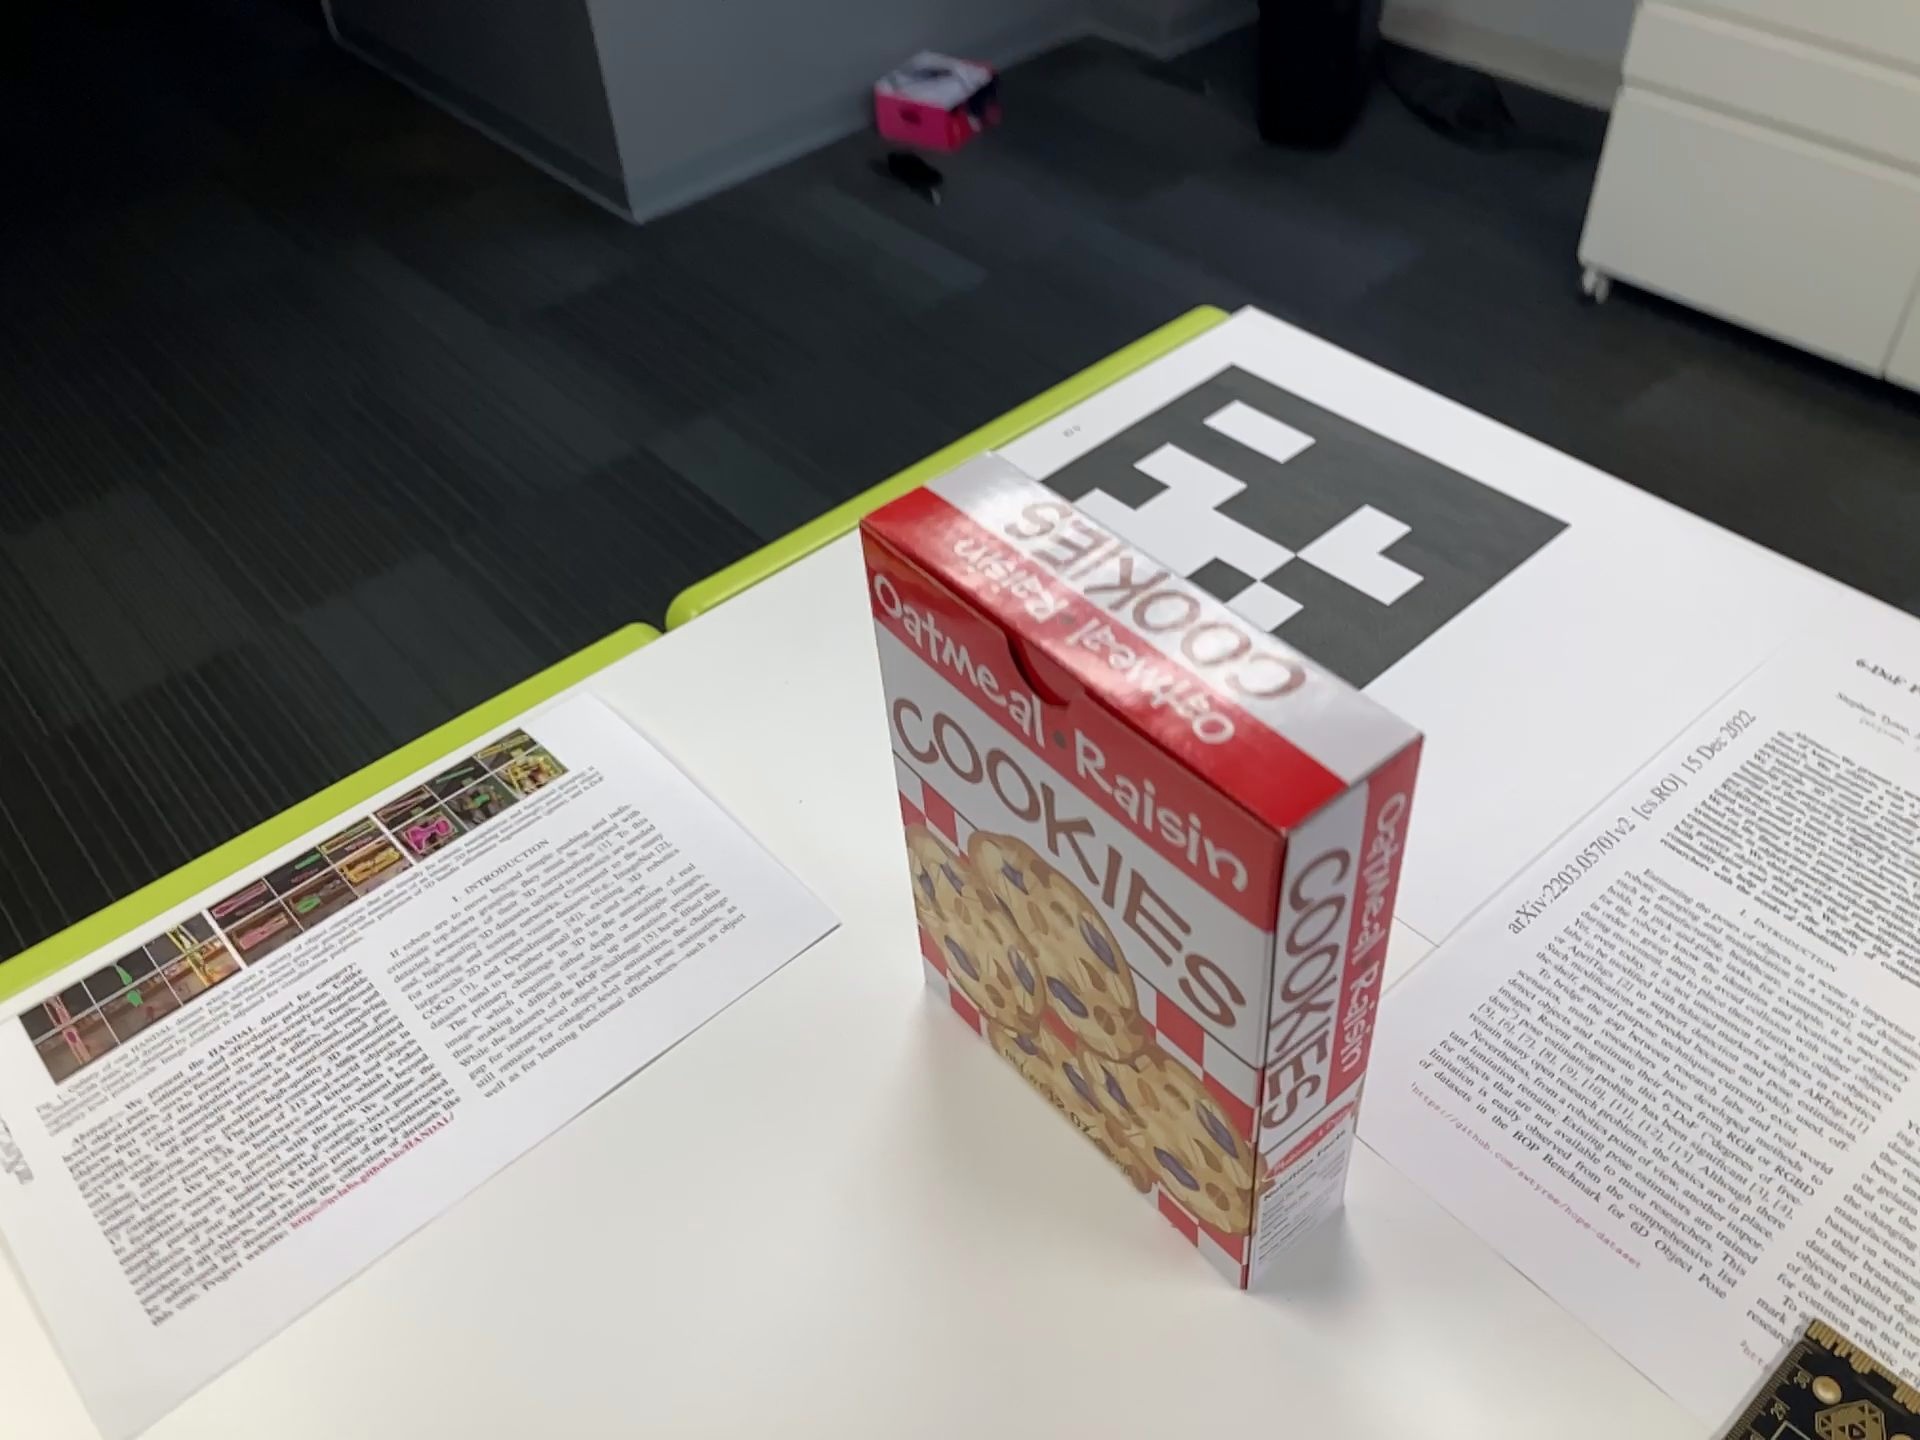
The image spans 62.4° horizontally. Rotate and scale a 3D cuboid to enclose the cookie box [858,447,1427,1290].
[{"bbox_3d":[0.035,0.038,0.361,0.040,0.167,0.123,-32,50,-24],"label":"cookie box"}]
